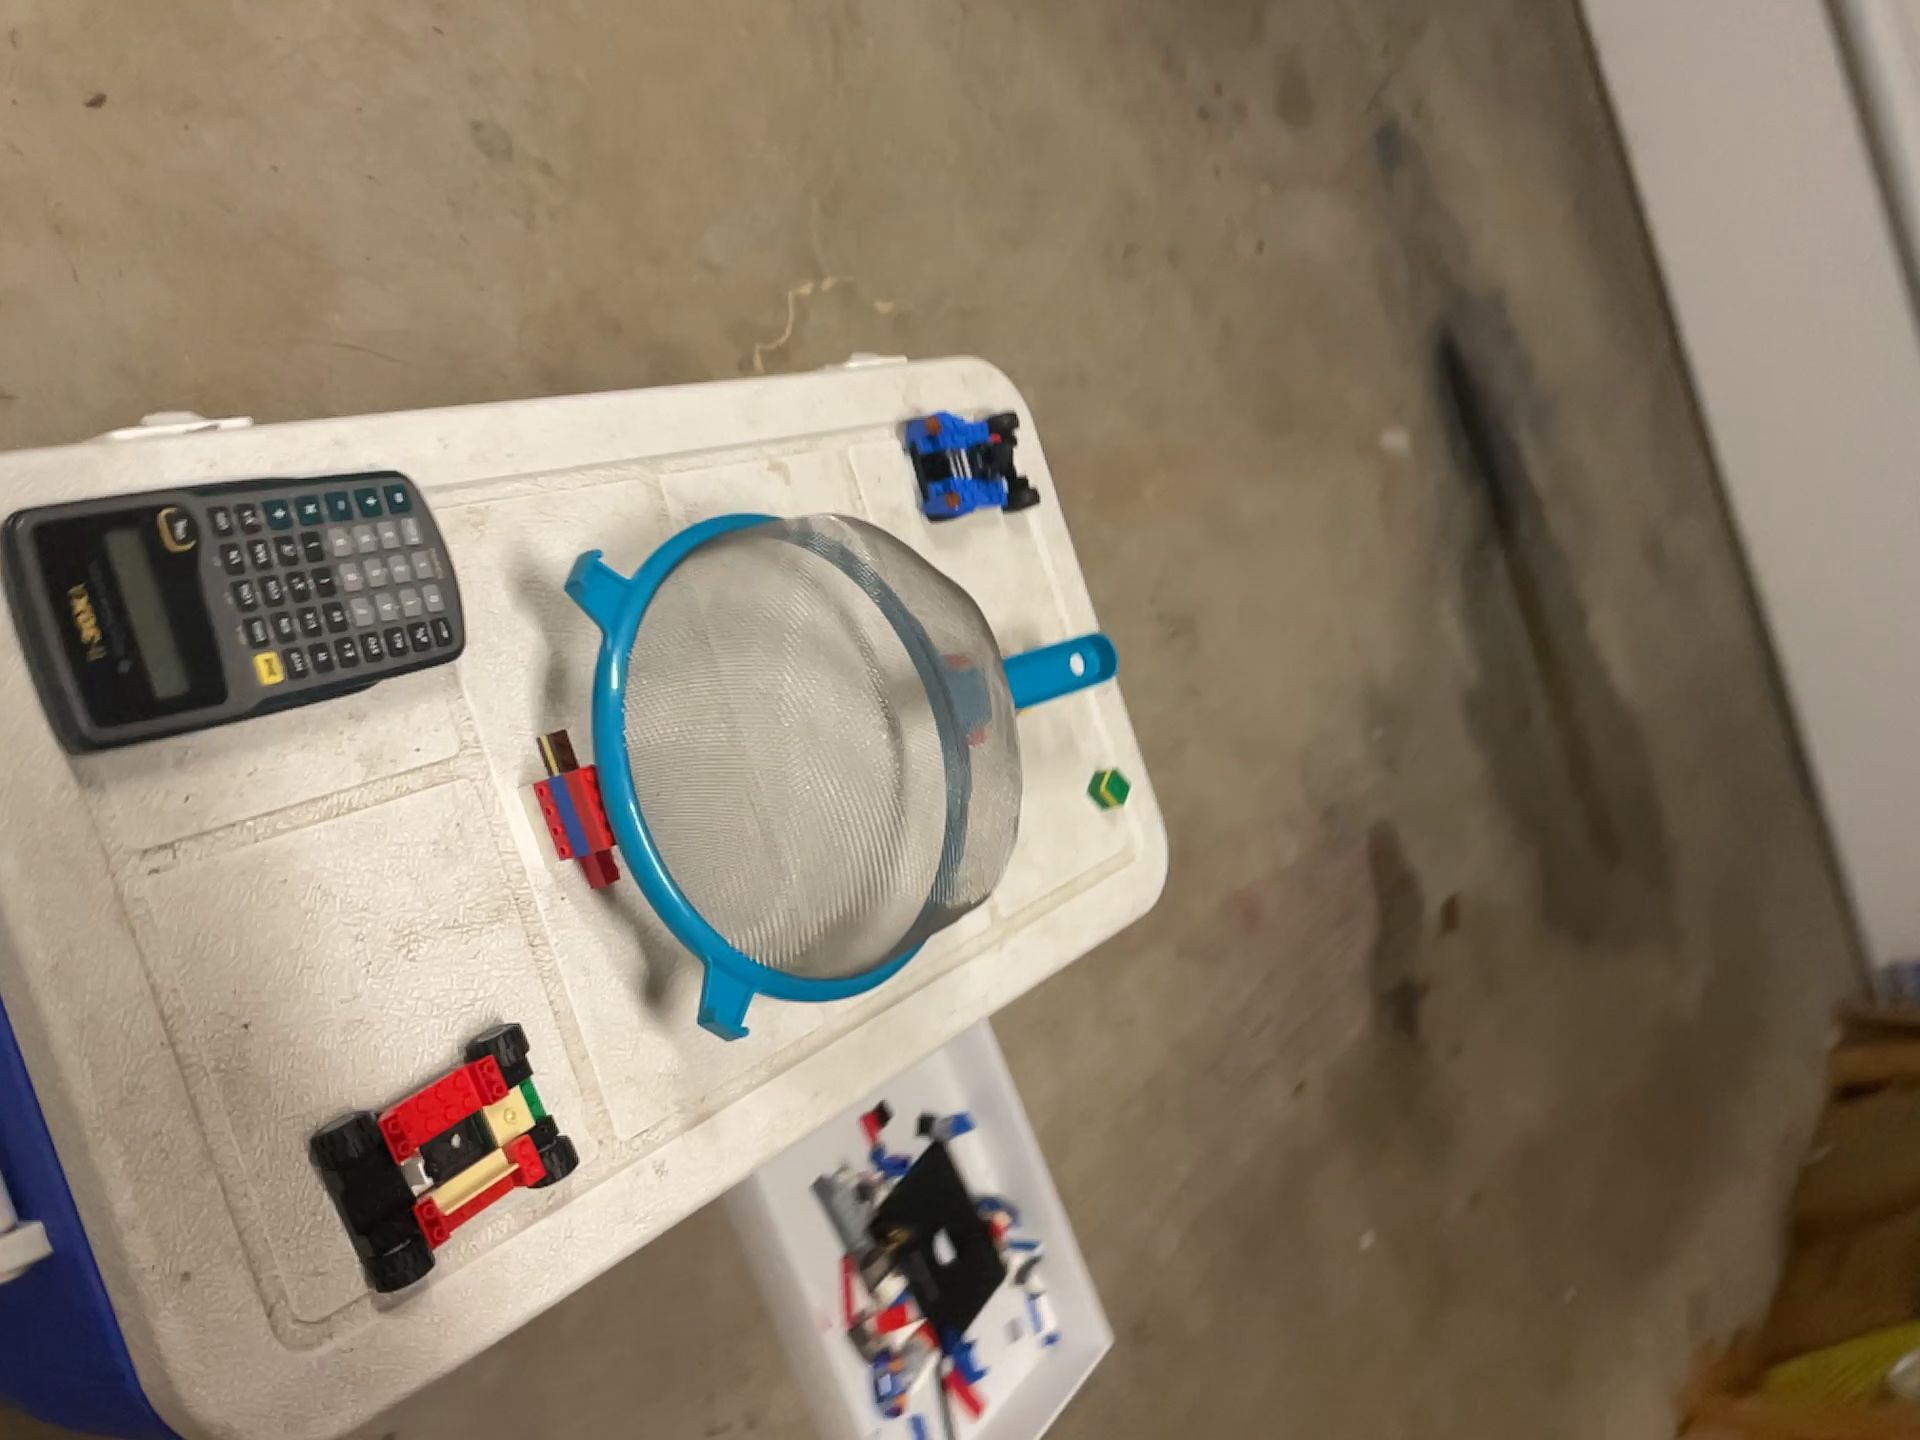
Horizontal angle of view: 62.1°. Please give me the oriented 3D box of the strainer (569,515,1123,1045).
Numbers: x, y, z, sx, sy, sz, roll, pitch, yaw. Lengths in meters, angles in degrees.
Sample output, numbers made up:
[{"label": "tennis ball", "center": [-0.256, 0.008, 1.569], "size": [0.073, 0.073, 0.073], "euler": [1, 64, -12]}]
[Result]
[{"label": "strainer", "center": [0.002, -0.006, 0.702], "size": [0.340, 0.095, 0.211], "euler": [-19, 92, -50]}]
